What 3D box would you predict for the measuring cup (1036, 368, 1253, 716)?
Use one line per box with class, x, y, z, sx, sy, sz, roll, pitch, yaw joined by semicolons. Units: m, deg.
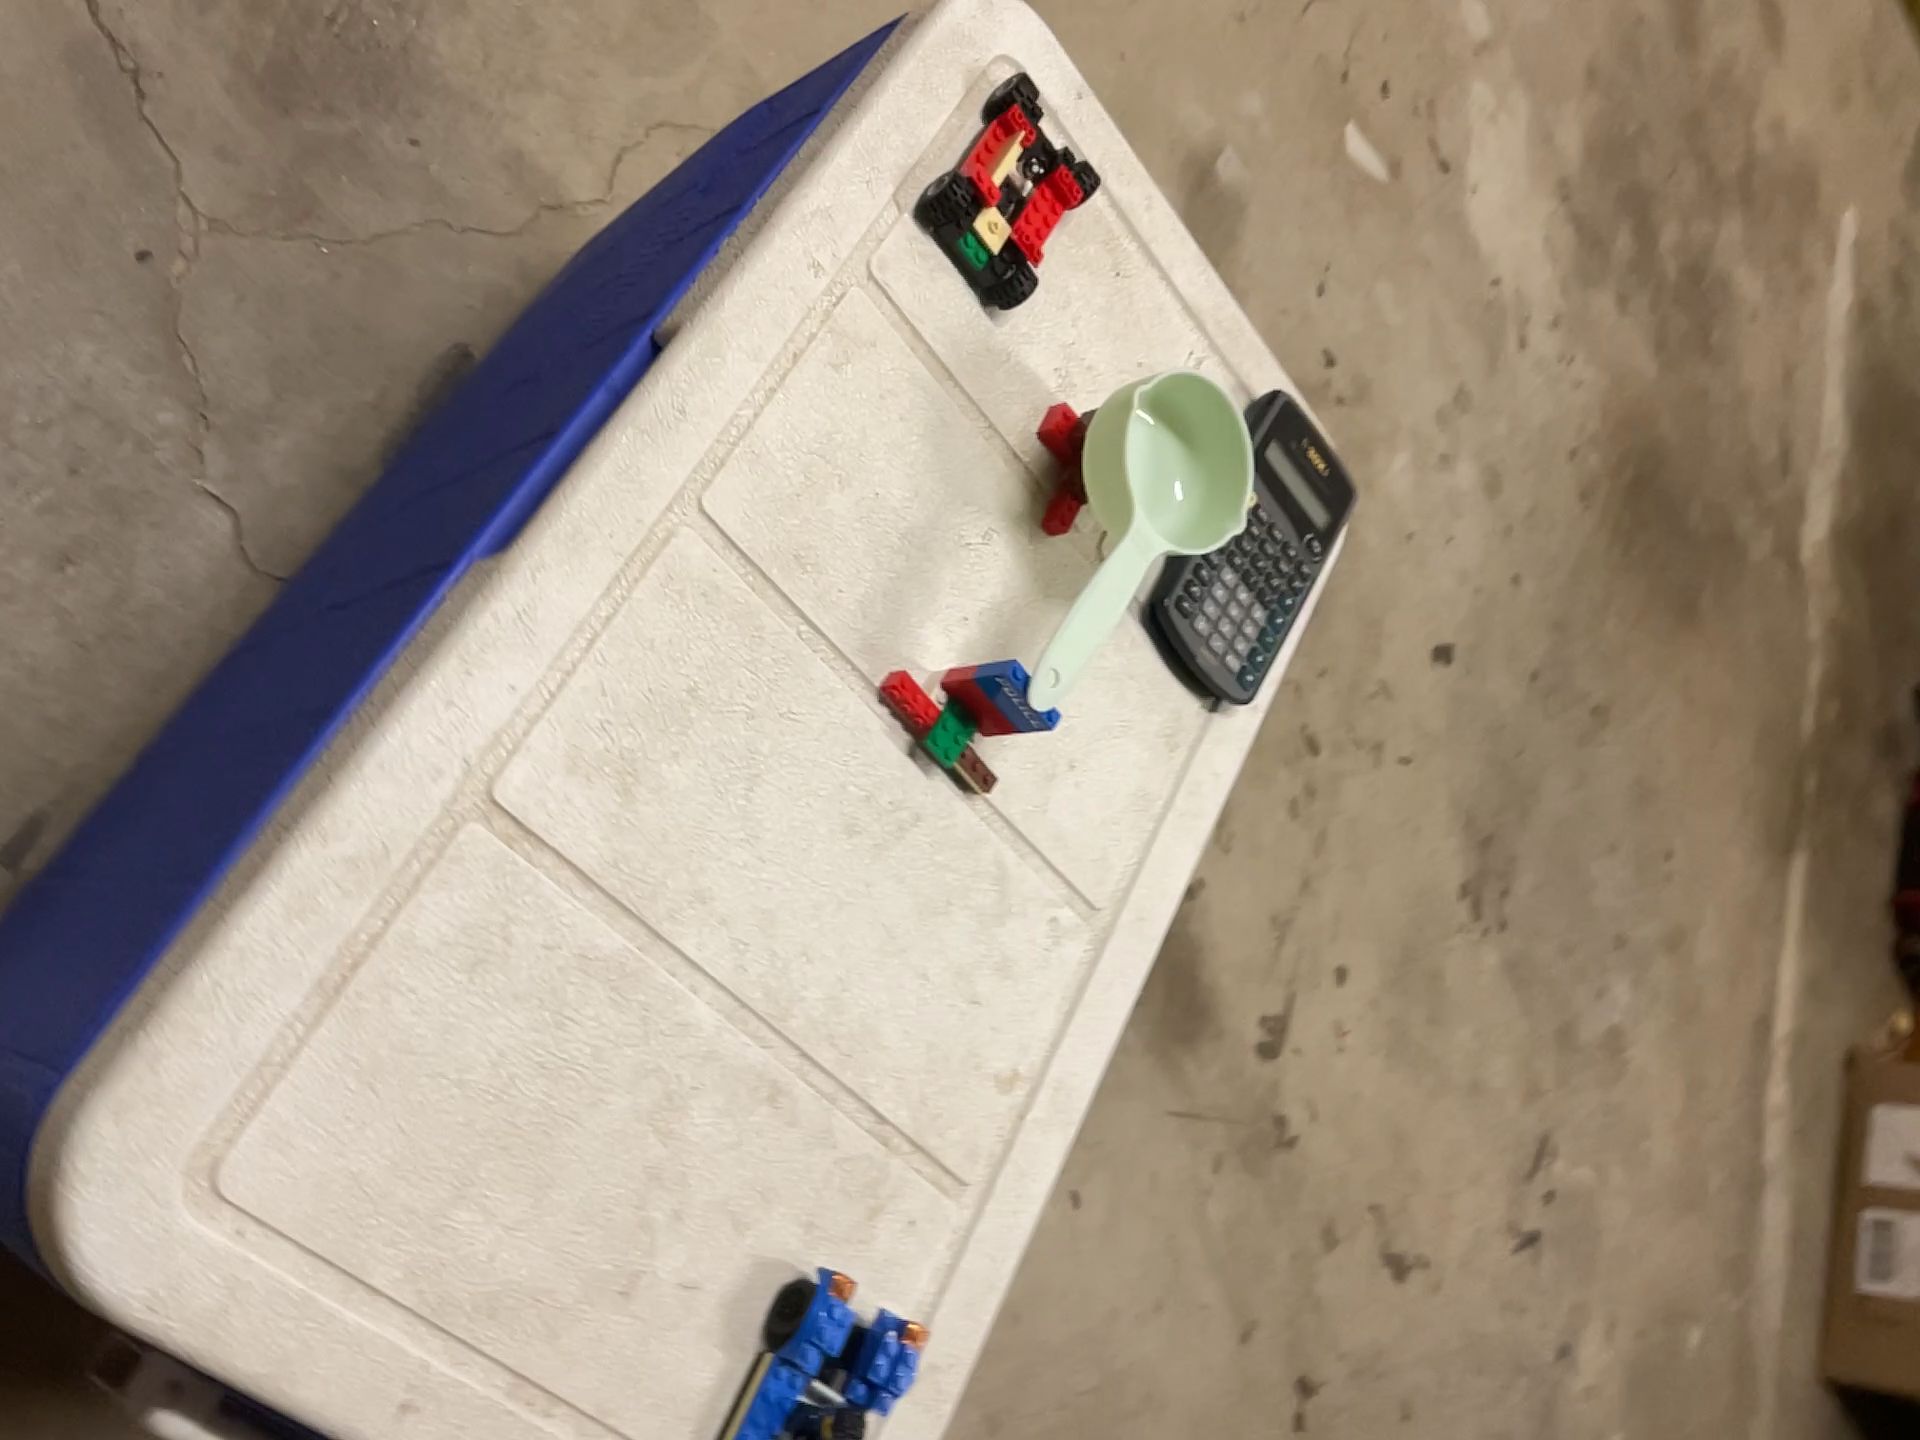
measuring cup;0.062;-0.070;0.654;0.083;0.038;0.168;45;65;-31
